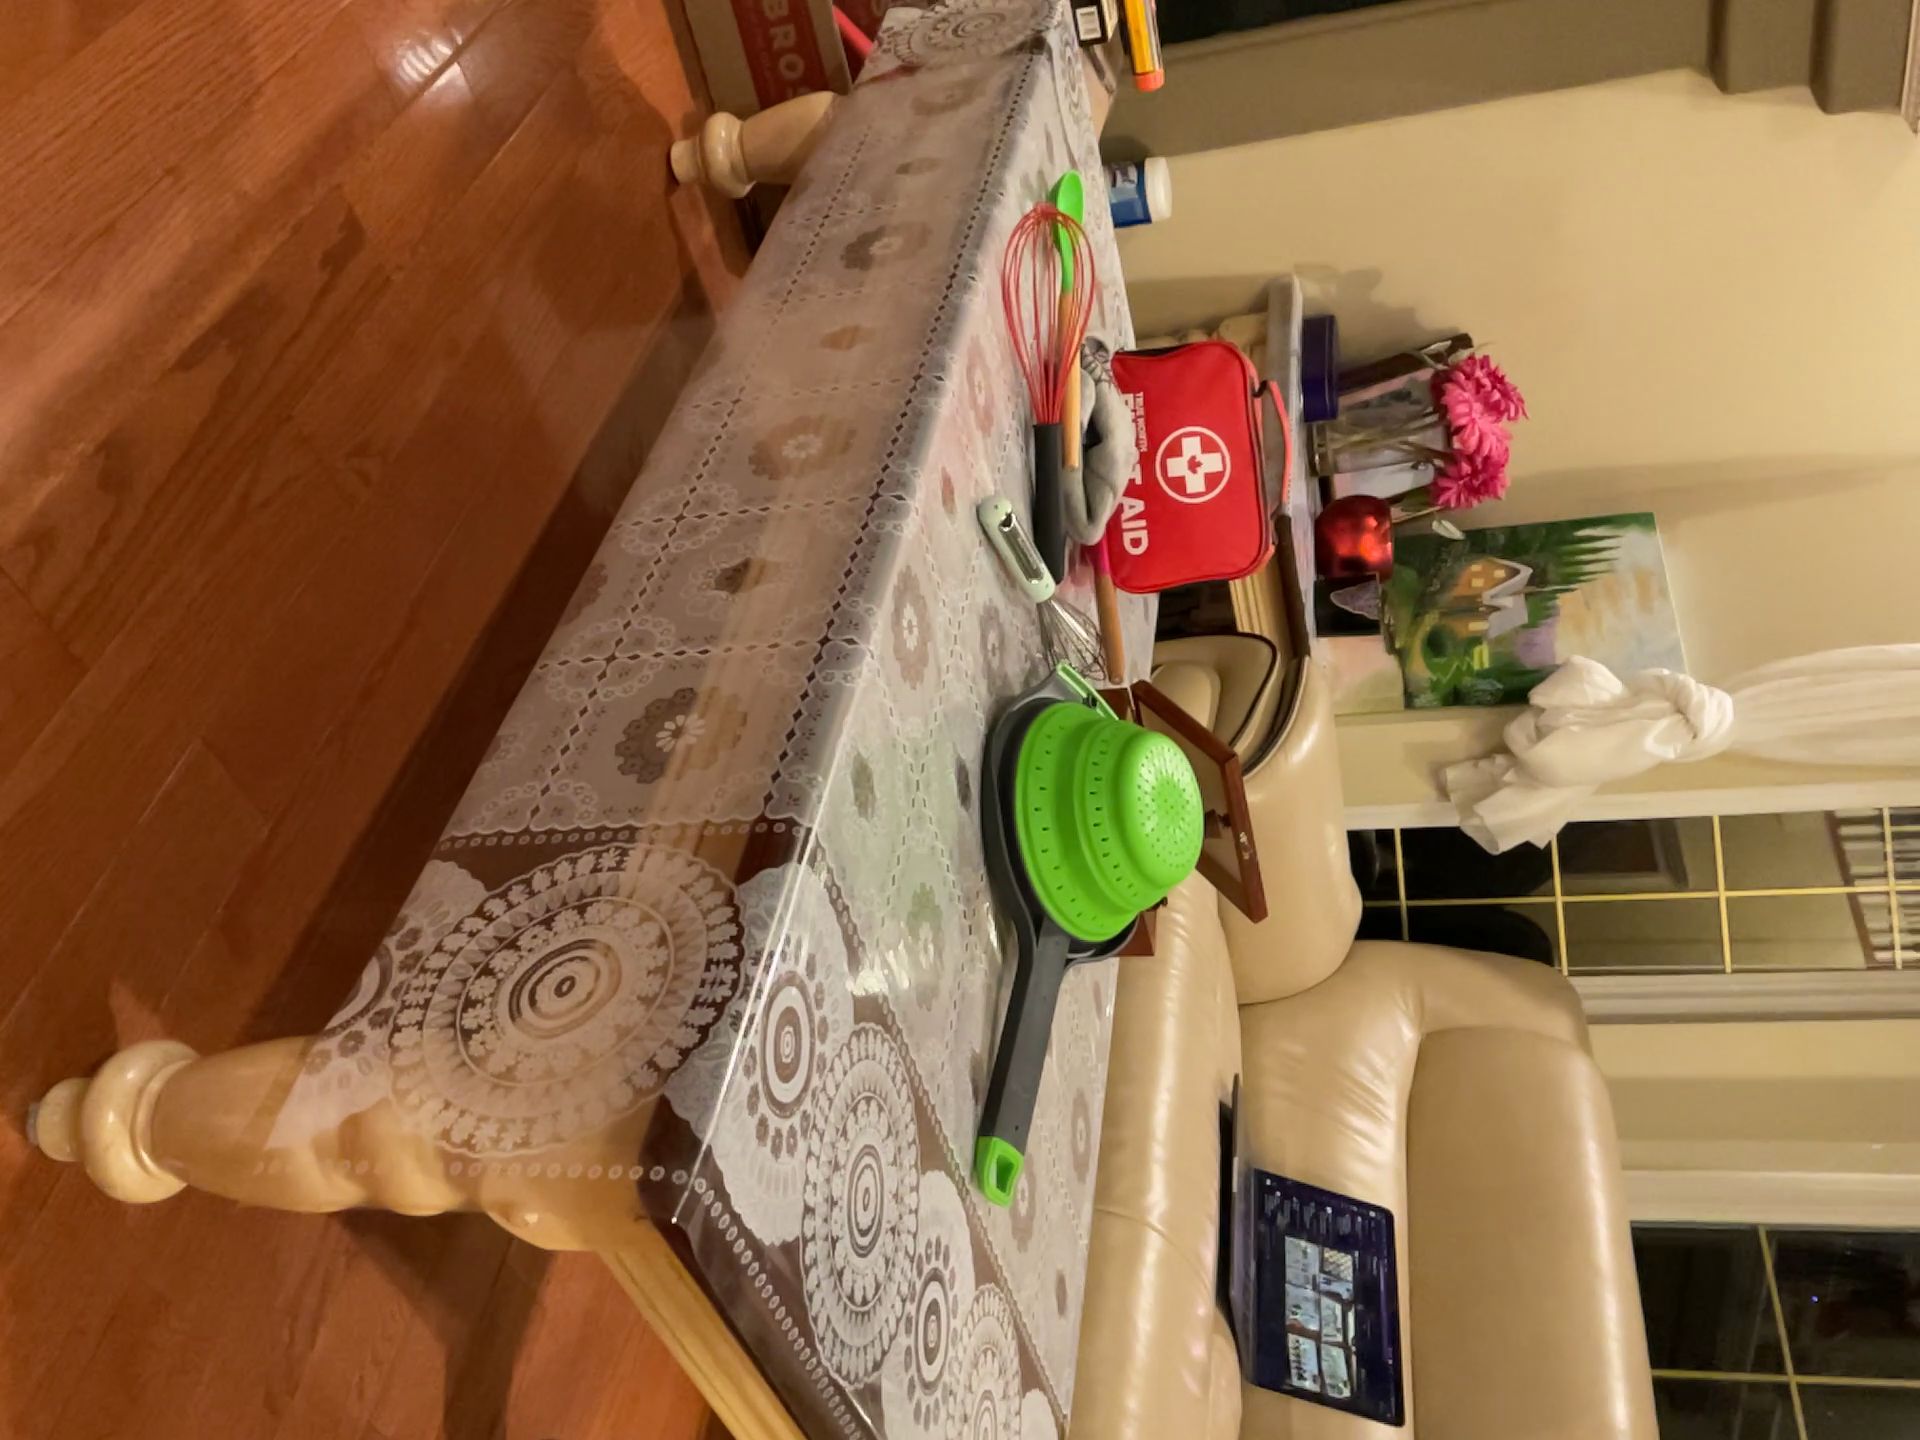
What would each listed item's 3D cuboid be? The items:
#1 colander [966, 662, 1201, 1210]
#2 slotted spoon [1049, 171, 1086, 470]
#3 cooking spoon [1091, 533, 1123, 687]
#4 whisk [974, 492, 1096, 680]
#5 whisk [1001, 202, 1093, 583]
[{"bbox_3d":[0.088,0.135,1.080,0.204,0.094,0.397,44,48,-37],"label":"colander"},{"bbox_3d":[0.090,-0.340,1.344,0.070,0.031,0.314,60,28,-57],"label":"slotted spoon"},{"bbox_3d":[0.124,-0.110,1.367,0.319,0.017,0.068,-87,164,-60],"label":"cooking spoon"},{"bbox_3d":[0.056,-0.096,1.204,0.058,0.059,0.246,47,-5,34],"label":"whisk"},{"bbox_3d":[0.069,-0.252,1.250,0.073,0.073,0.295,-60,150,-72],"label":"whisk"}]
